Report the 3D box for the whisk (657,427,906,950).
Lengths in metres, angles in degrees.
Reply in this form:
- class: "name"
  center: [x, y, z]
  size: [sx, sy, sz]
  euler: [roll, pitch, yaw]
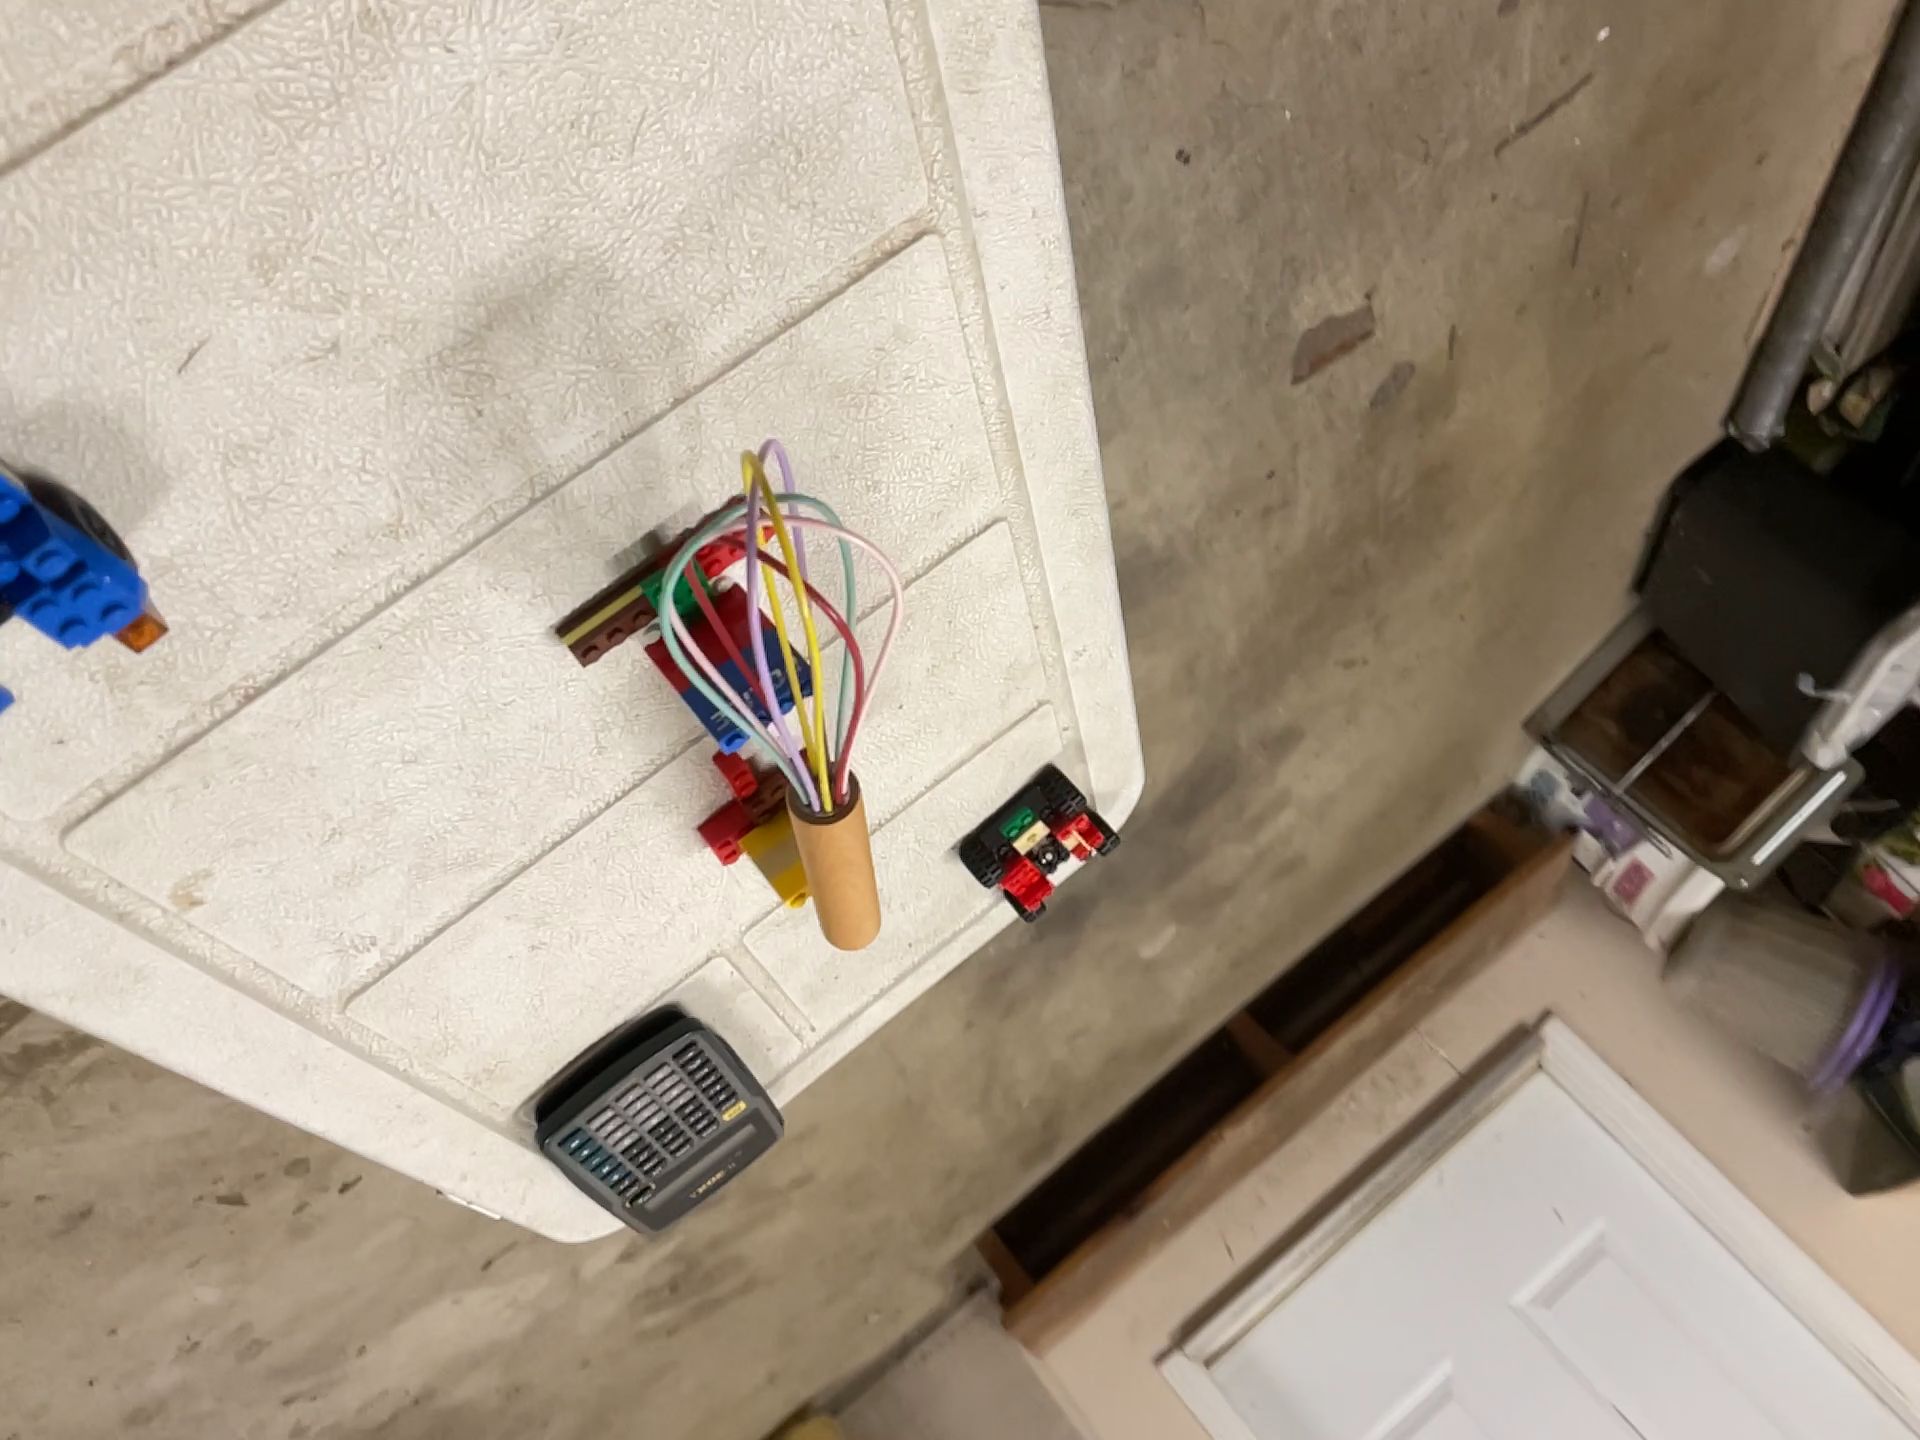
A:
- class: "whisk"
  center: [-0.039, 0.012, 0.426]
  size: [0.051, 0.047, 0.245]
  euler: [-46, 159, -21]
